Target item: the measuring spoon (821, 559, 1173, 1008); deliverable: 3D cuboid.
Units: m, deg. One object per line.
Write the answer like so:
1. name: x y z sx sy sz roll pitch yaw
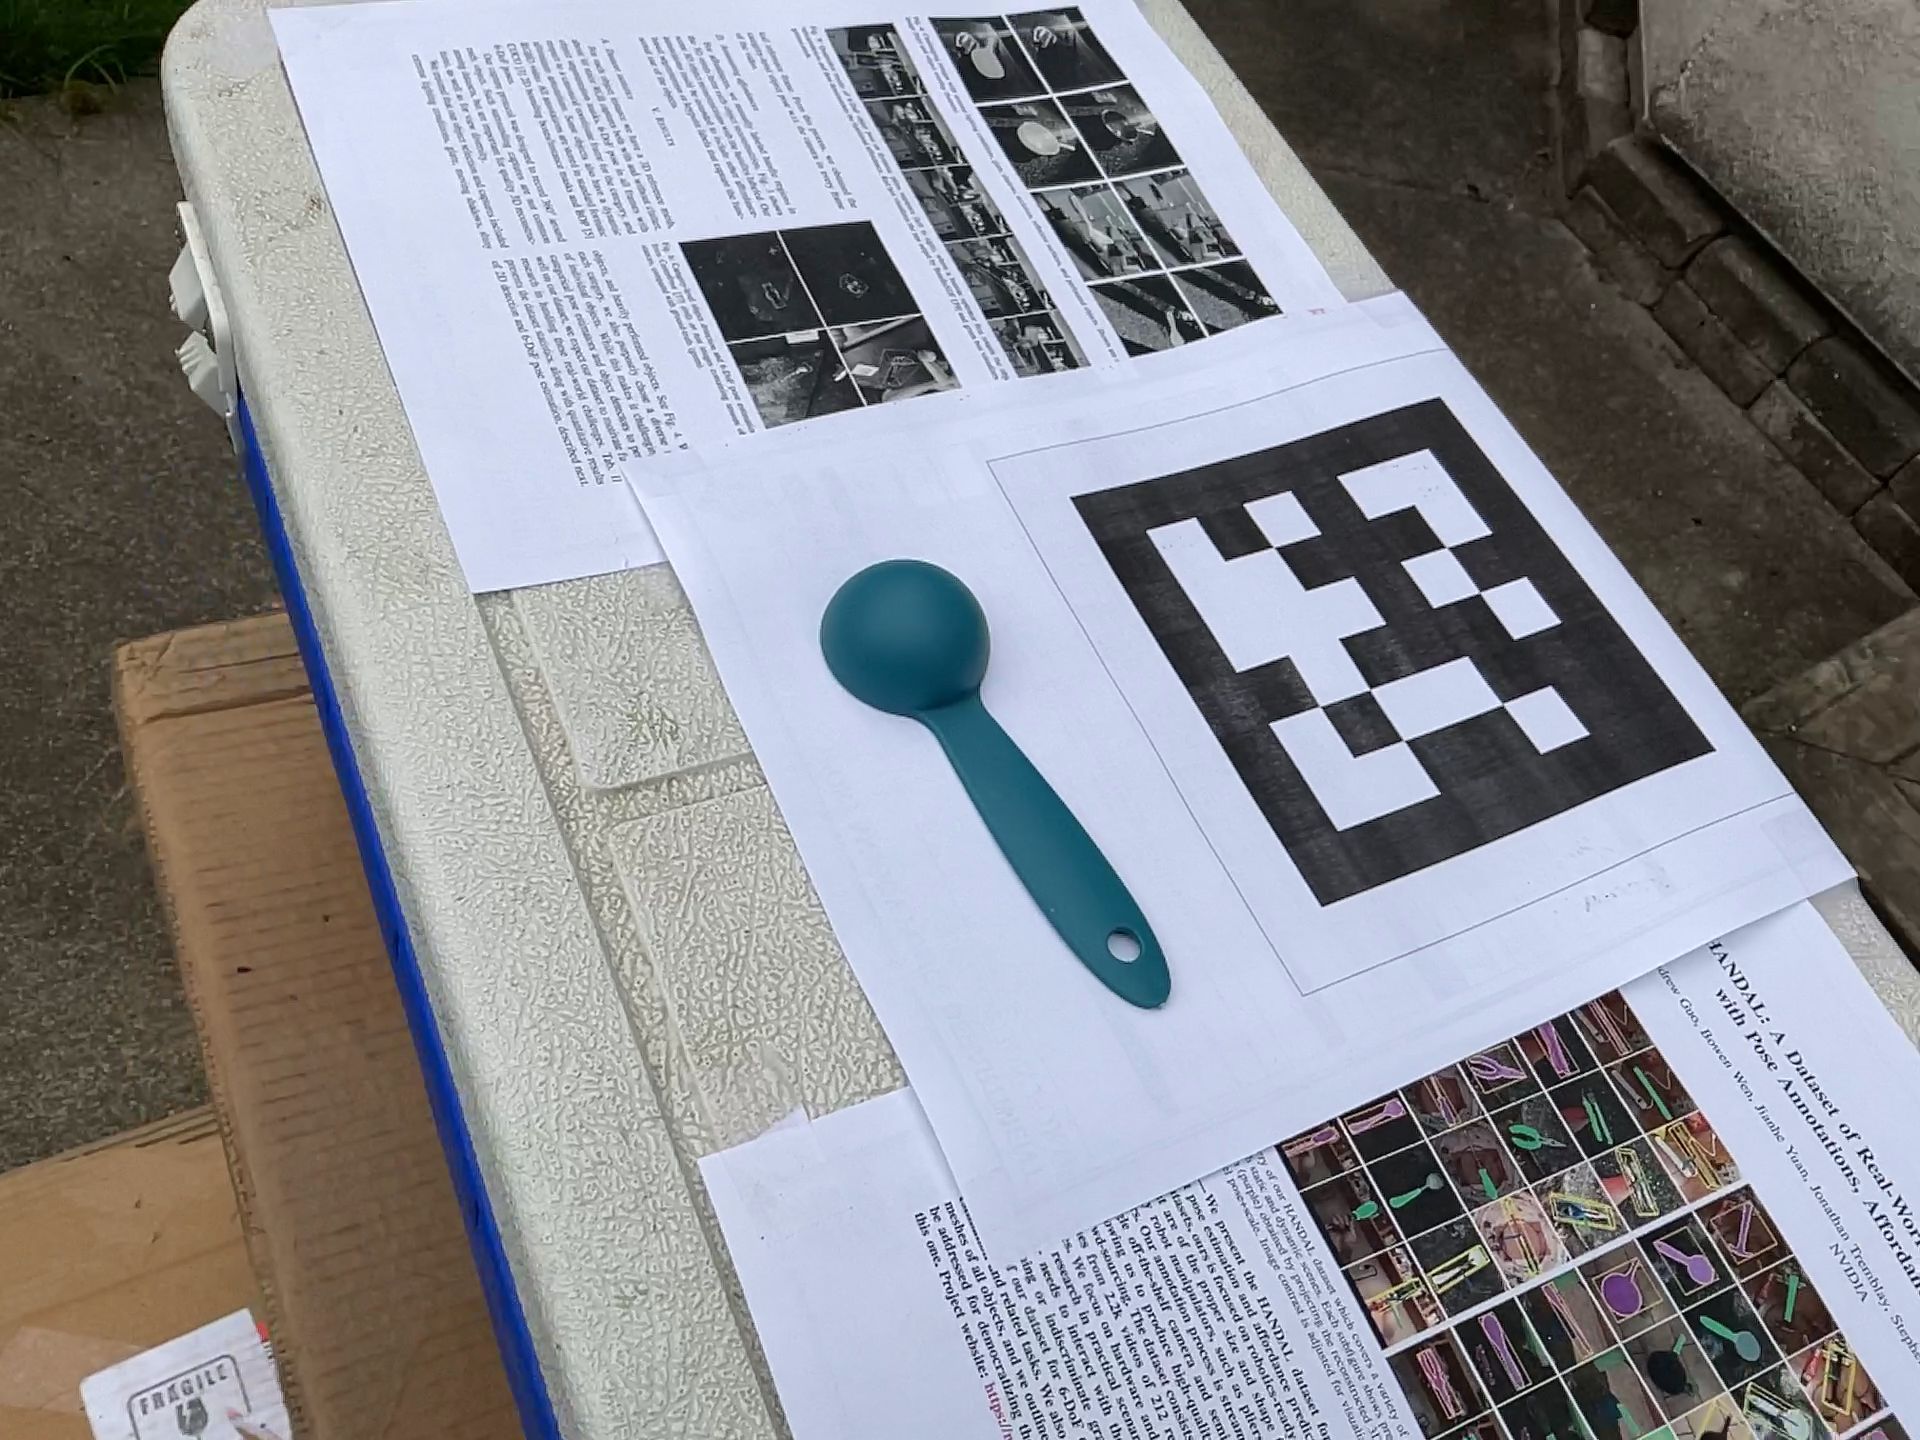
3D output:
1. measuring spoon: 0.012 0.009 0.370 0.042 0.021 0.129 -22 65 -32
